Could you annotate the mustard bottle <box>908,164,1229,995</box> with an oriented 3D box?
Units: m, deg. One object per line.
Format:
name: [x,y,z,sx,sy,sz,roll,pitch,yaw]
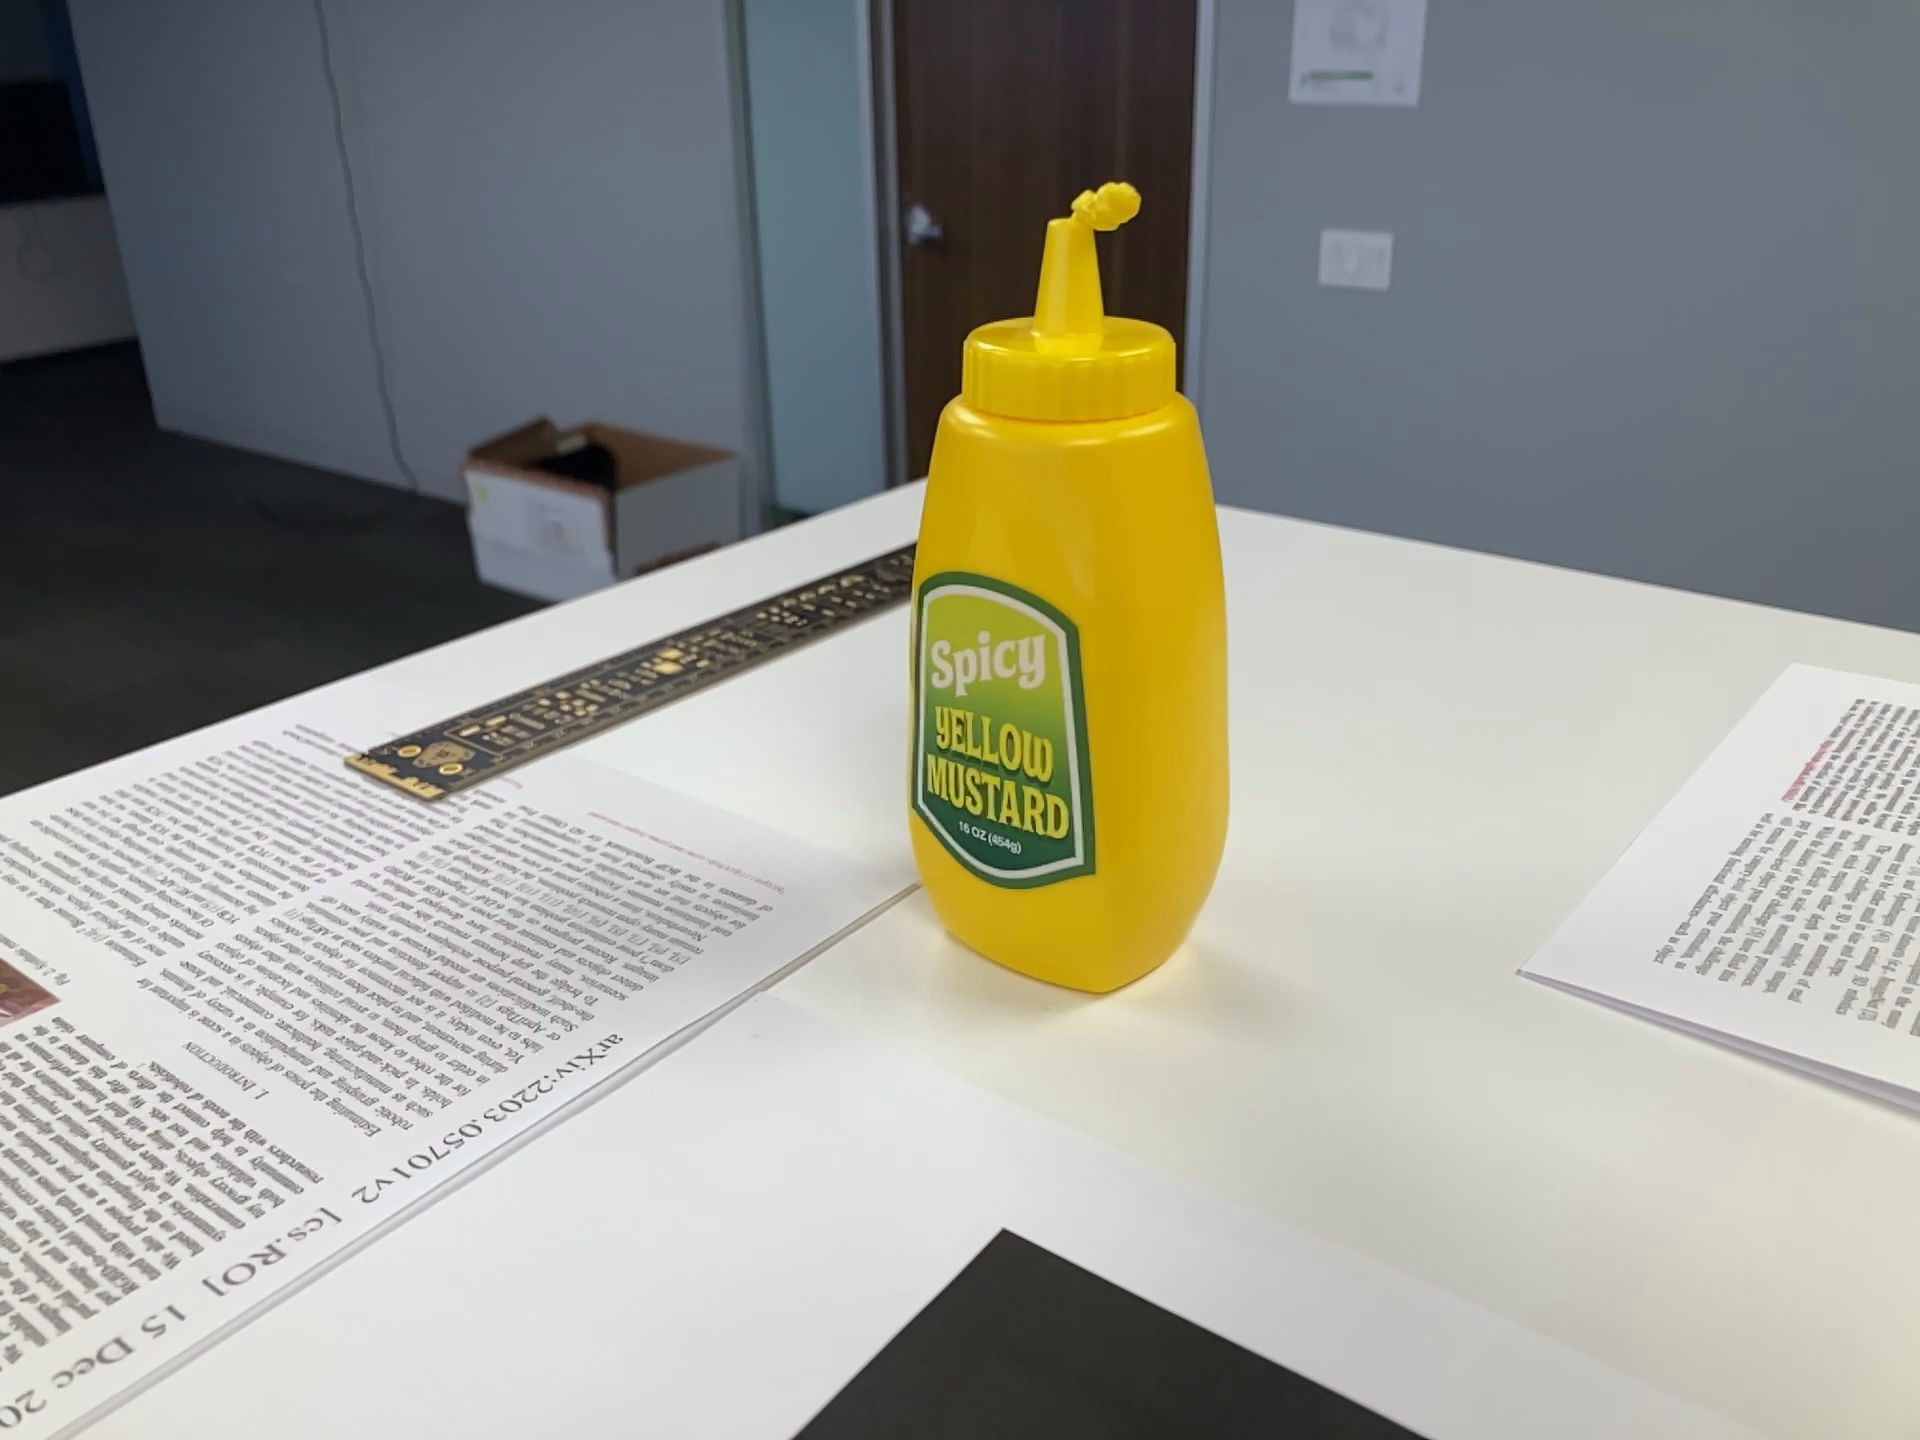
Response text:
mustard bottle: [0.020,-0.026,0.315,0.065,0.160,0.049,18,31,38]
